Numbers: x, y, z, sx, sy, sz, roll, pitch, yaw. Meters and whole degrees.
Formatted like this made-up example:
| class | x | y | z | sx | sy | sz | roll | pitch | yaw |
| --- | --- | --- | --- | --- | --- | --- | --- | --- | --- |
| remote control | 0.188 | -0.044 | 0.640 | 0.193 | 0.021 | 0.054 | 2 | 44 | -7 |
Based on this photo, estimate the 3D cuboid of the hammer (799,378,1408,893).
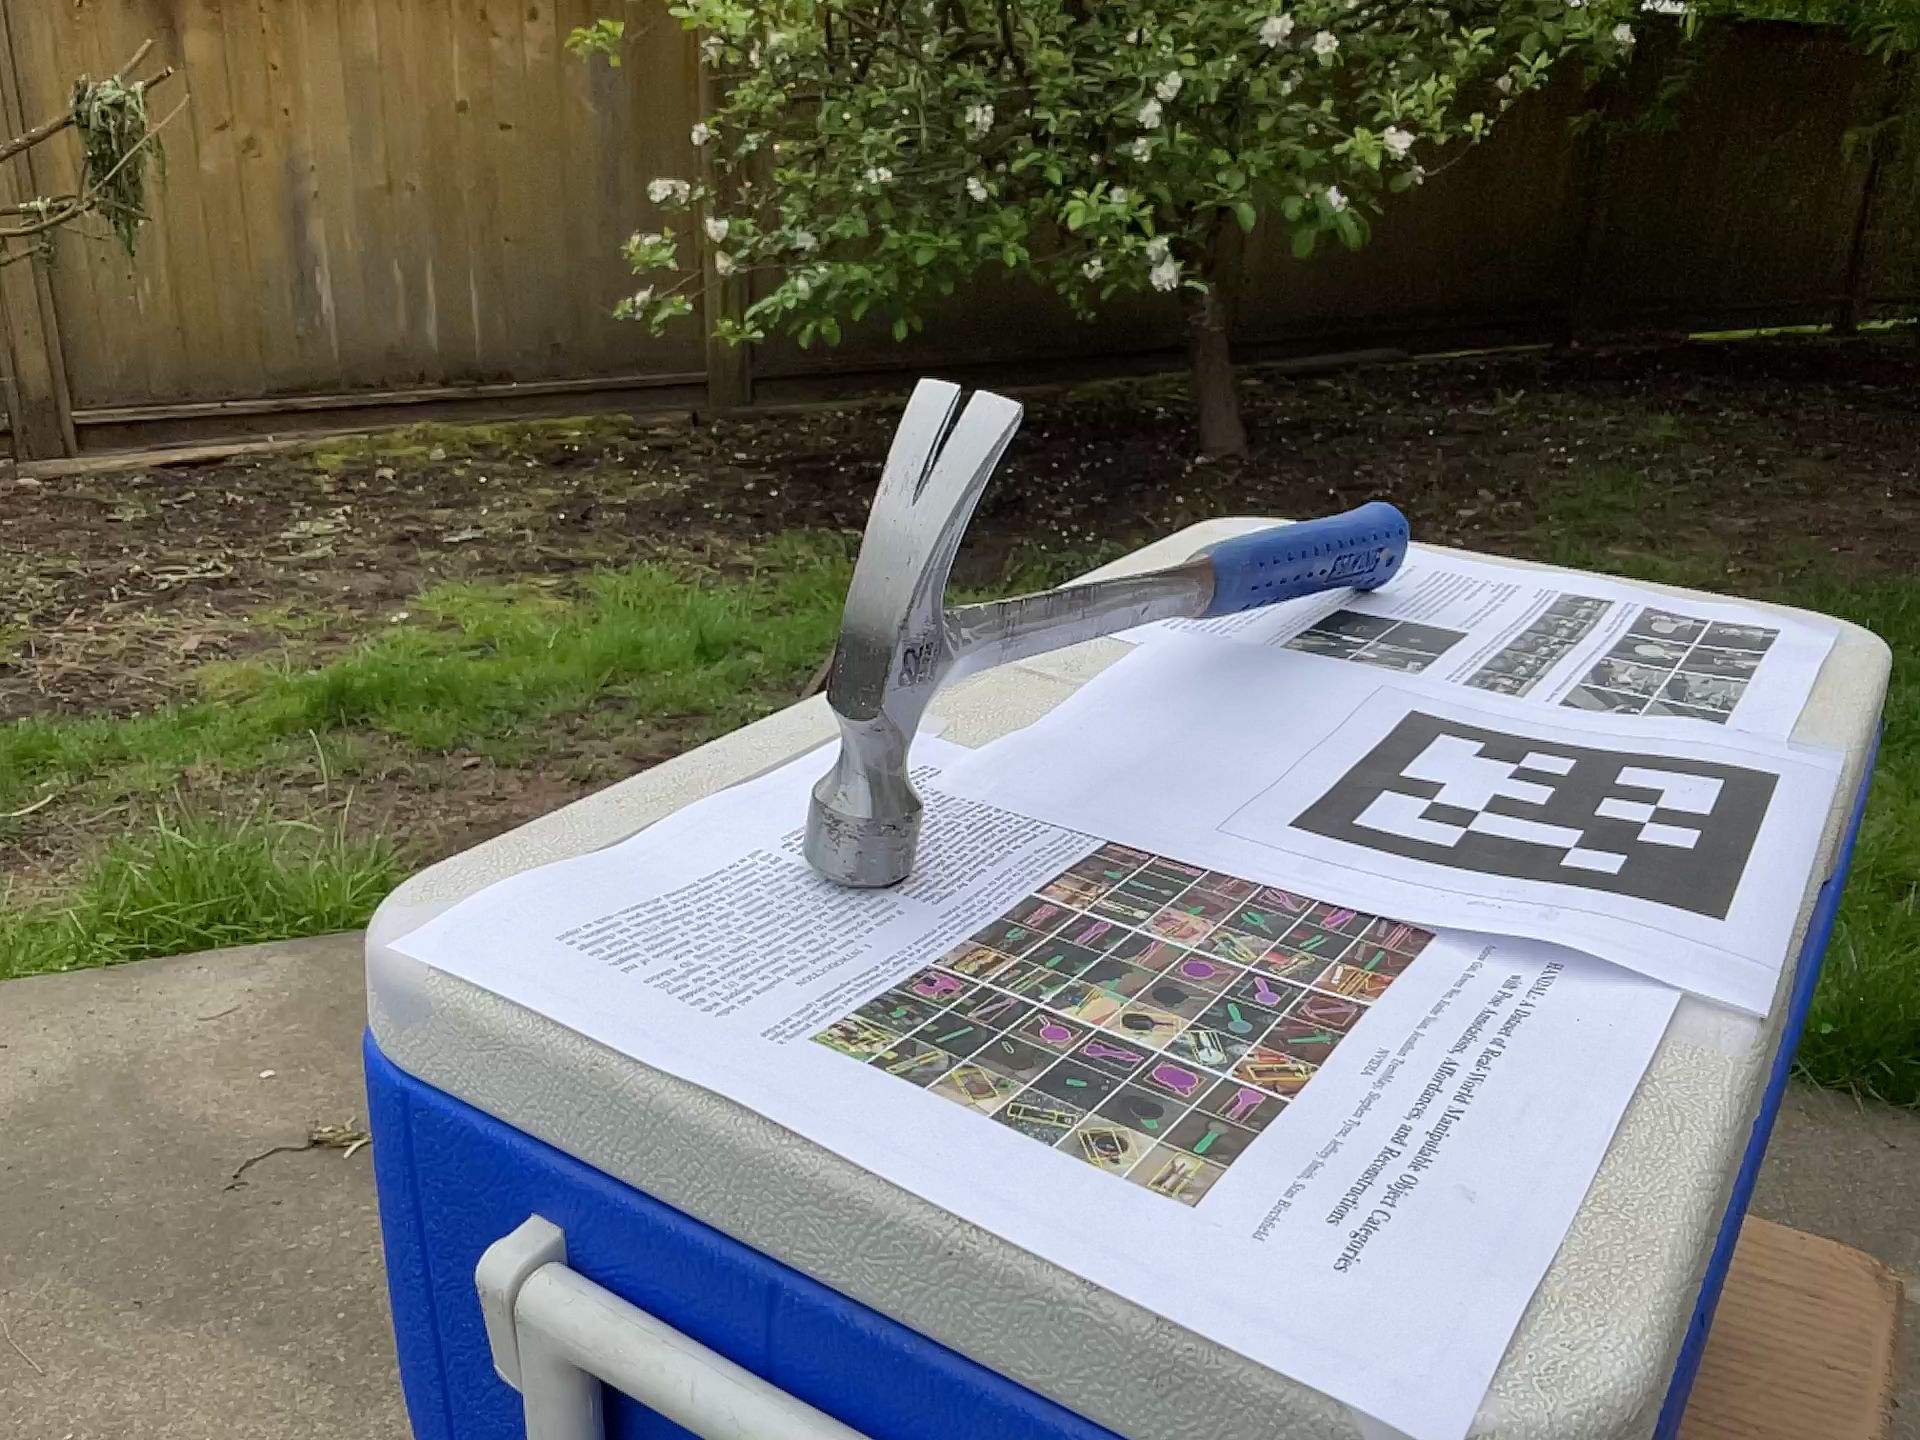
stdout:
| class | x | y | z | sx | sy | sz | roll | pitch | yaw |
| --- | --- | --- | --- | --- | --- | --- | --- | --- | --- |
| hammer | 0.086 | -0.053 | 0.598 | 0.035 | 0.144 | 0.405 | 22 | 22 | 29 |
